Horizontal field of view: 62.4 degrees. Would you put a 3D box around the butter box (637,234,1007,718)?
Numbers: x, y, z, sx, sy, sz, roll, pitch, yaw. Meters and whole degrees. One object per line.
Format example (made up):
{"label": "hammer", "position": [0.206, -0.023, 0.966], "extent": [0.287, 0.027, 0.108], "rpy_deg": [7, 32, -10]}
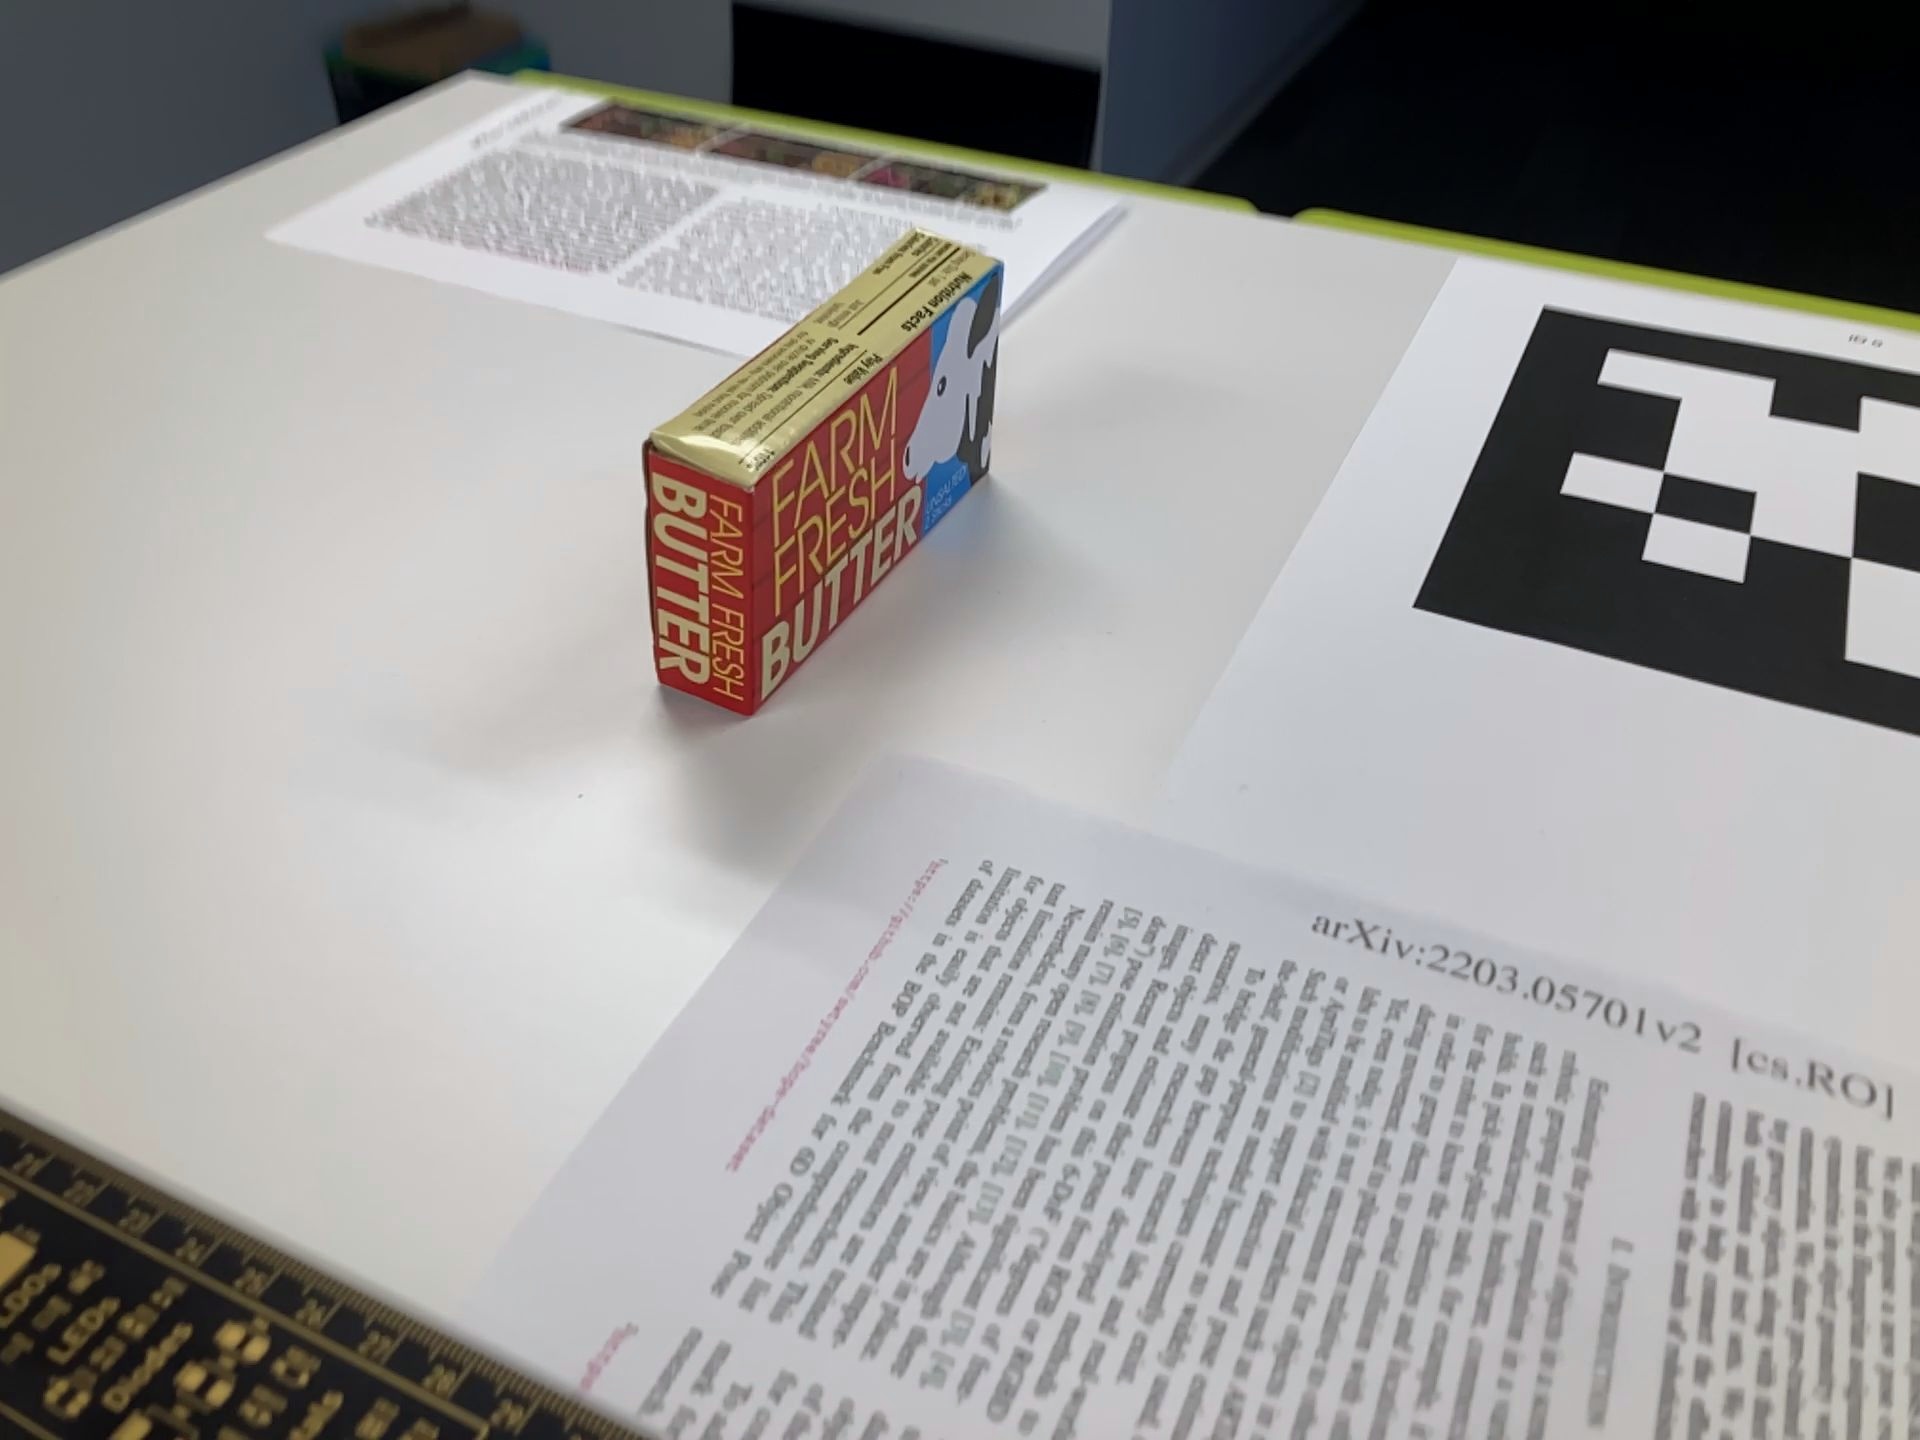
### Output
{"label": "butter box", "position": [-0.024, -0.051, 0.312], "extent": [0.024, 0.053, 0.103], "rpy_deg": [20, 43, 17]}
